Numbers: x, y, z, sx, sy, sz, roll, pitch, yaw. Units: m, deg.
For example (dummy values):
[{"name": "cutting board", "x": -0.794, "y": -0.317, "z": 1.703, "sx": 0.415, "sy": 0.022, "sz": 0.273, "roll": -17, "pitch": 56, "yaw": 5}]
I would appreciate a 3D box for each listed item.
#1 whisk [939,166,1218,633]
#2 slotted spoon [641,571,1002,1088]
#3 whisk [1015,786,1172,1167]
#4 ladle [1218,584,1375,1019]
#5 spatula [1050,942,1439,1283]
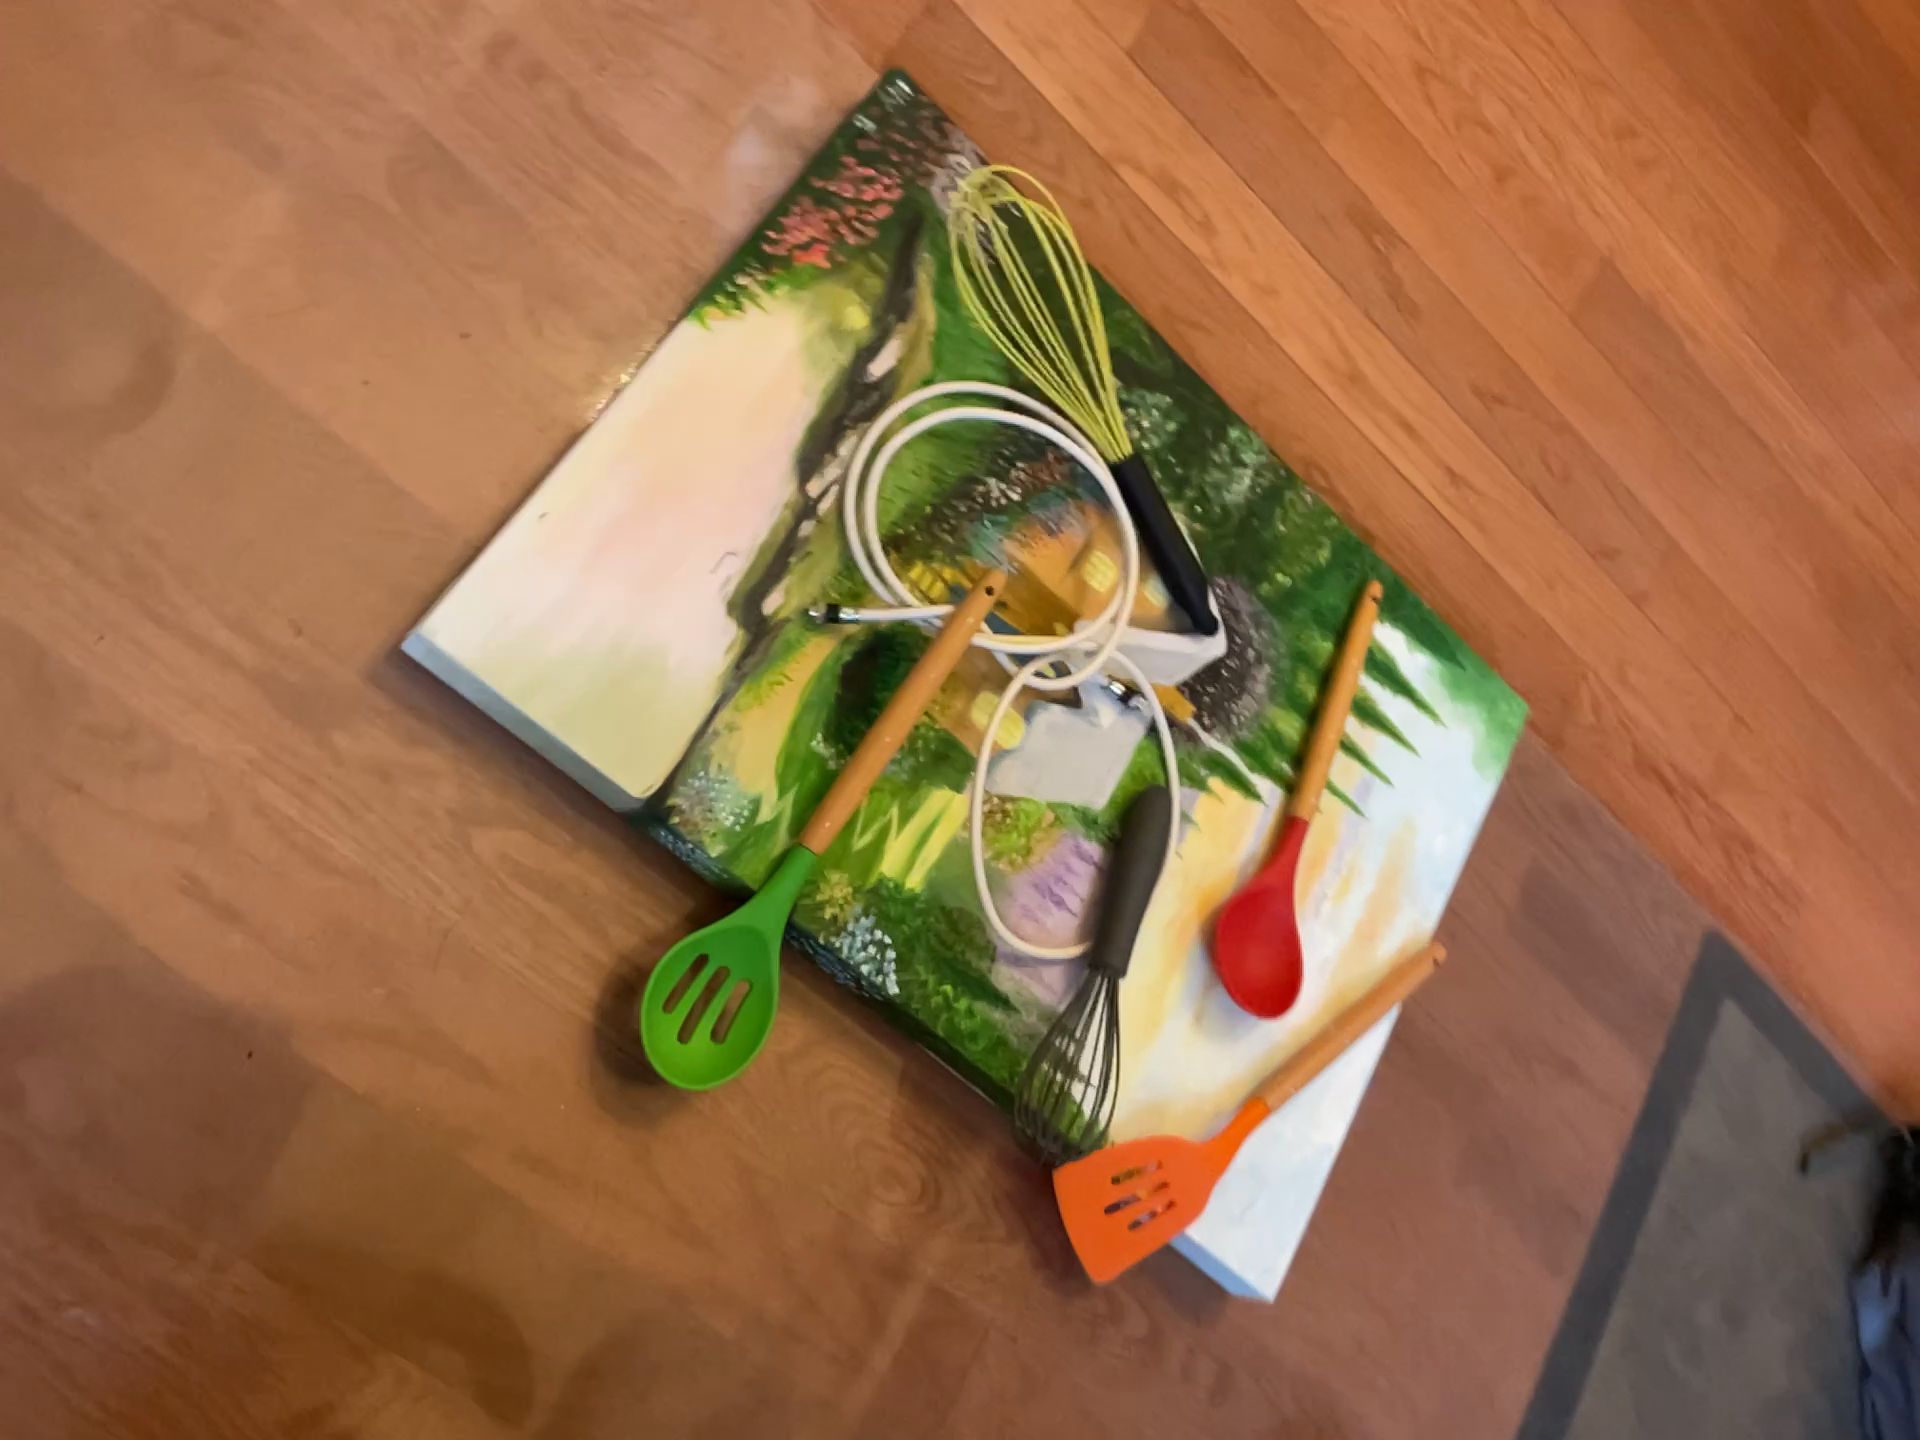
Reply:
[{"name": "whisk", "x": 0.080, "y": -0.185, "z": 0.960, "sx": 0.080, "sy": 0.067, "sz": 0.311, "roll": -37, "pitch": 105, "yaw": -25}, {"name": "slotted spoon", "x": -0.065, "y": 0.049, "z": 0.831, "sx": 0.070, "sy": 0.031, "sz": 0.314, "roll": 38, "pitch": 75, "yaw": -18}, {"name": "whisk", "x": 0.083, "y": 0.139, "z": 0.895, "sx": 0.055, "sy": 0.055, "sz": 0.239, "roll": 39, "pitch": 57, "yaw": -30}, {"name": "ladle", "x": 0.221, "y": 0.042, "z": 1.006, "sx": 0.069, "sy": 0.031, "sz": 0.316, "roll": 33, "pitch": 63, "yaw": -22}, {"name": "spatula", "x": 0.187, "y": 0.218, "z": 0.961, "sx": 0.322, "sy": 0.041, "sz": 0.081, "roll": -30, "pitch": 107, "yaw": -33}]
